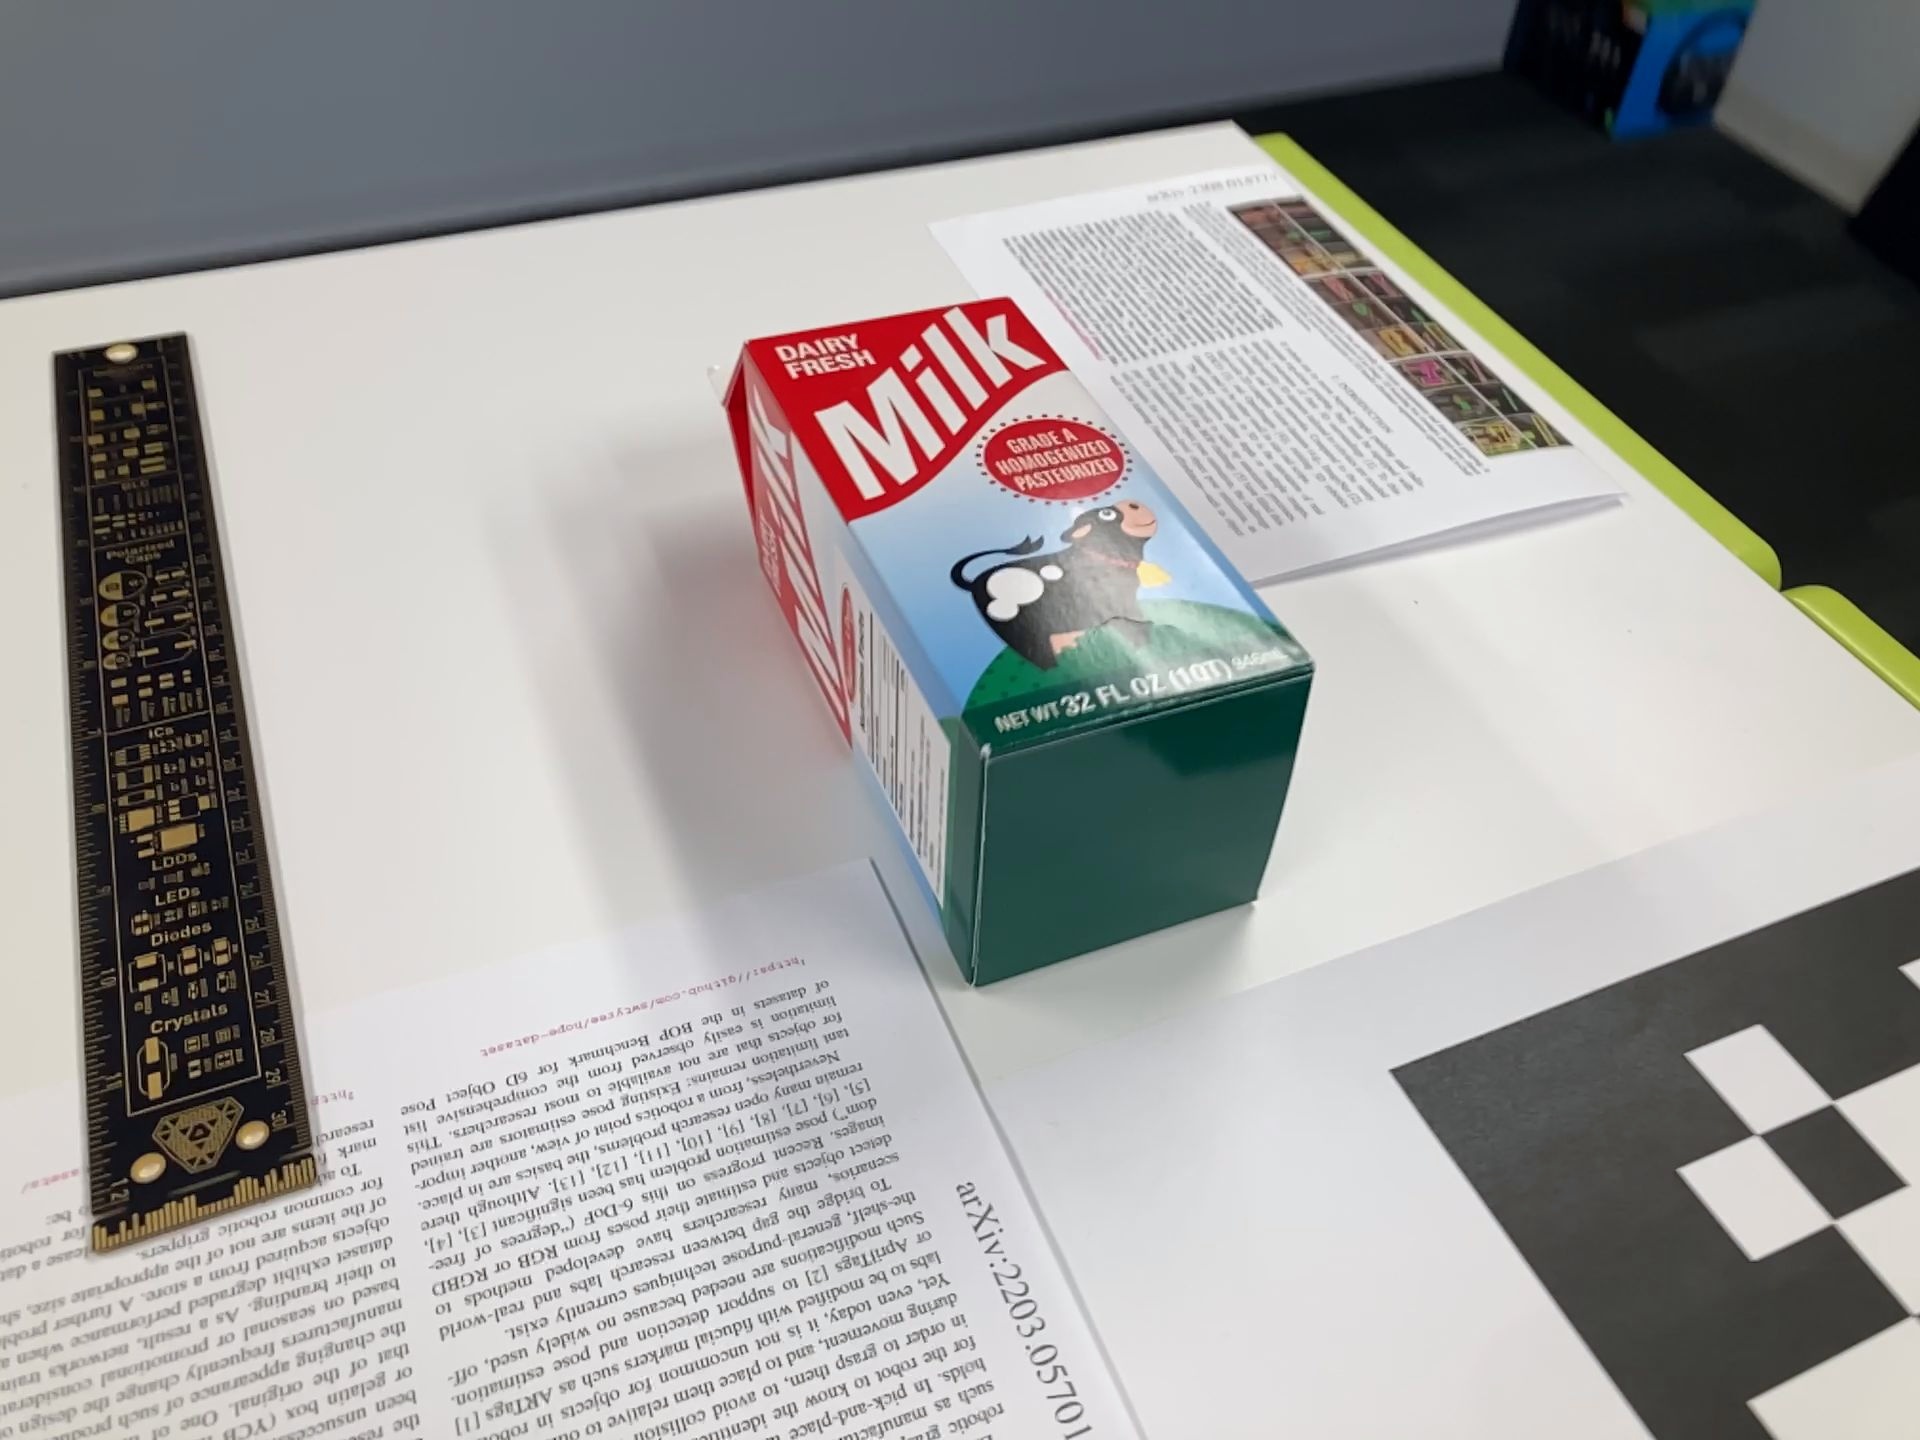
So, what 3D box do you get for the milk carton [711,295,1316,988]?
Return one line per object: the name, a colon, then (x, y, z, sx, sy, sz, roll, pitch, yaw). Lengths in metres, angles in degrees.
milk carton: (0.000, -0.039, 0.377, 0.072, 0.073, 0.190, -15, 47, -17)
